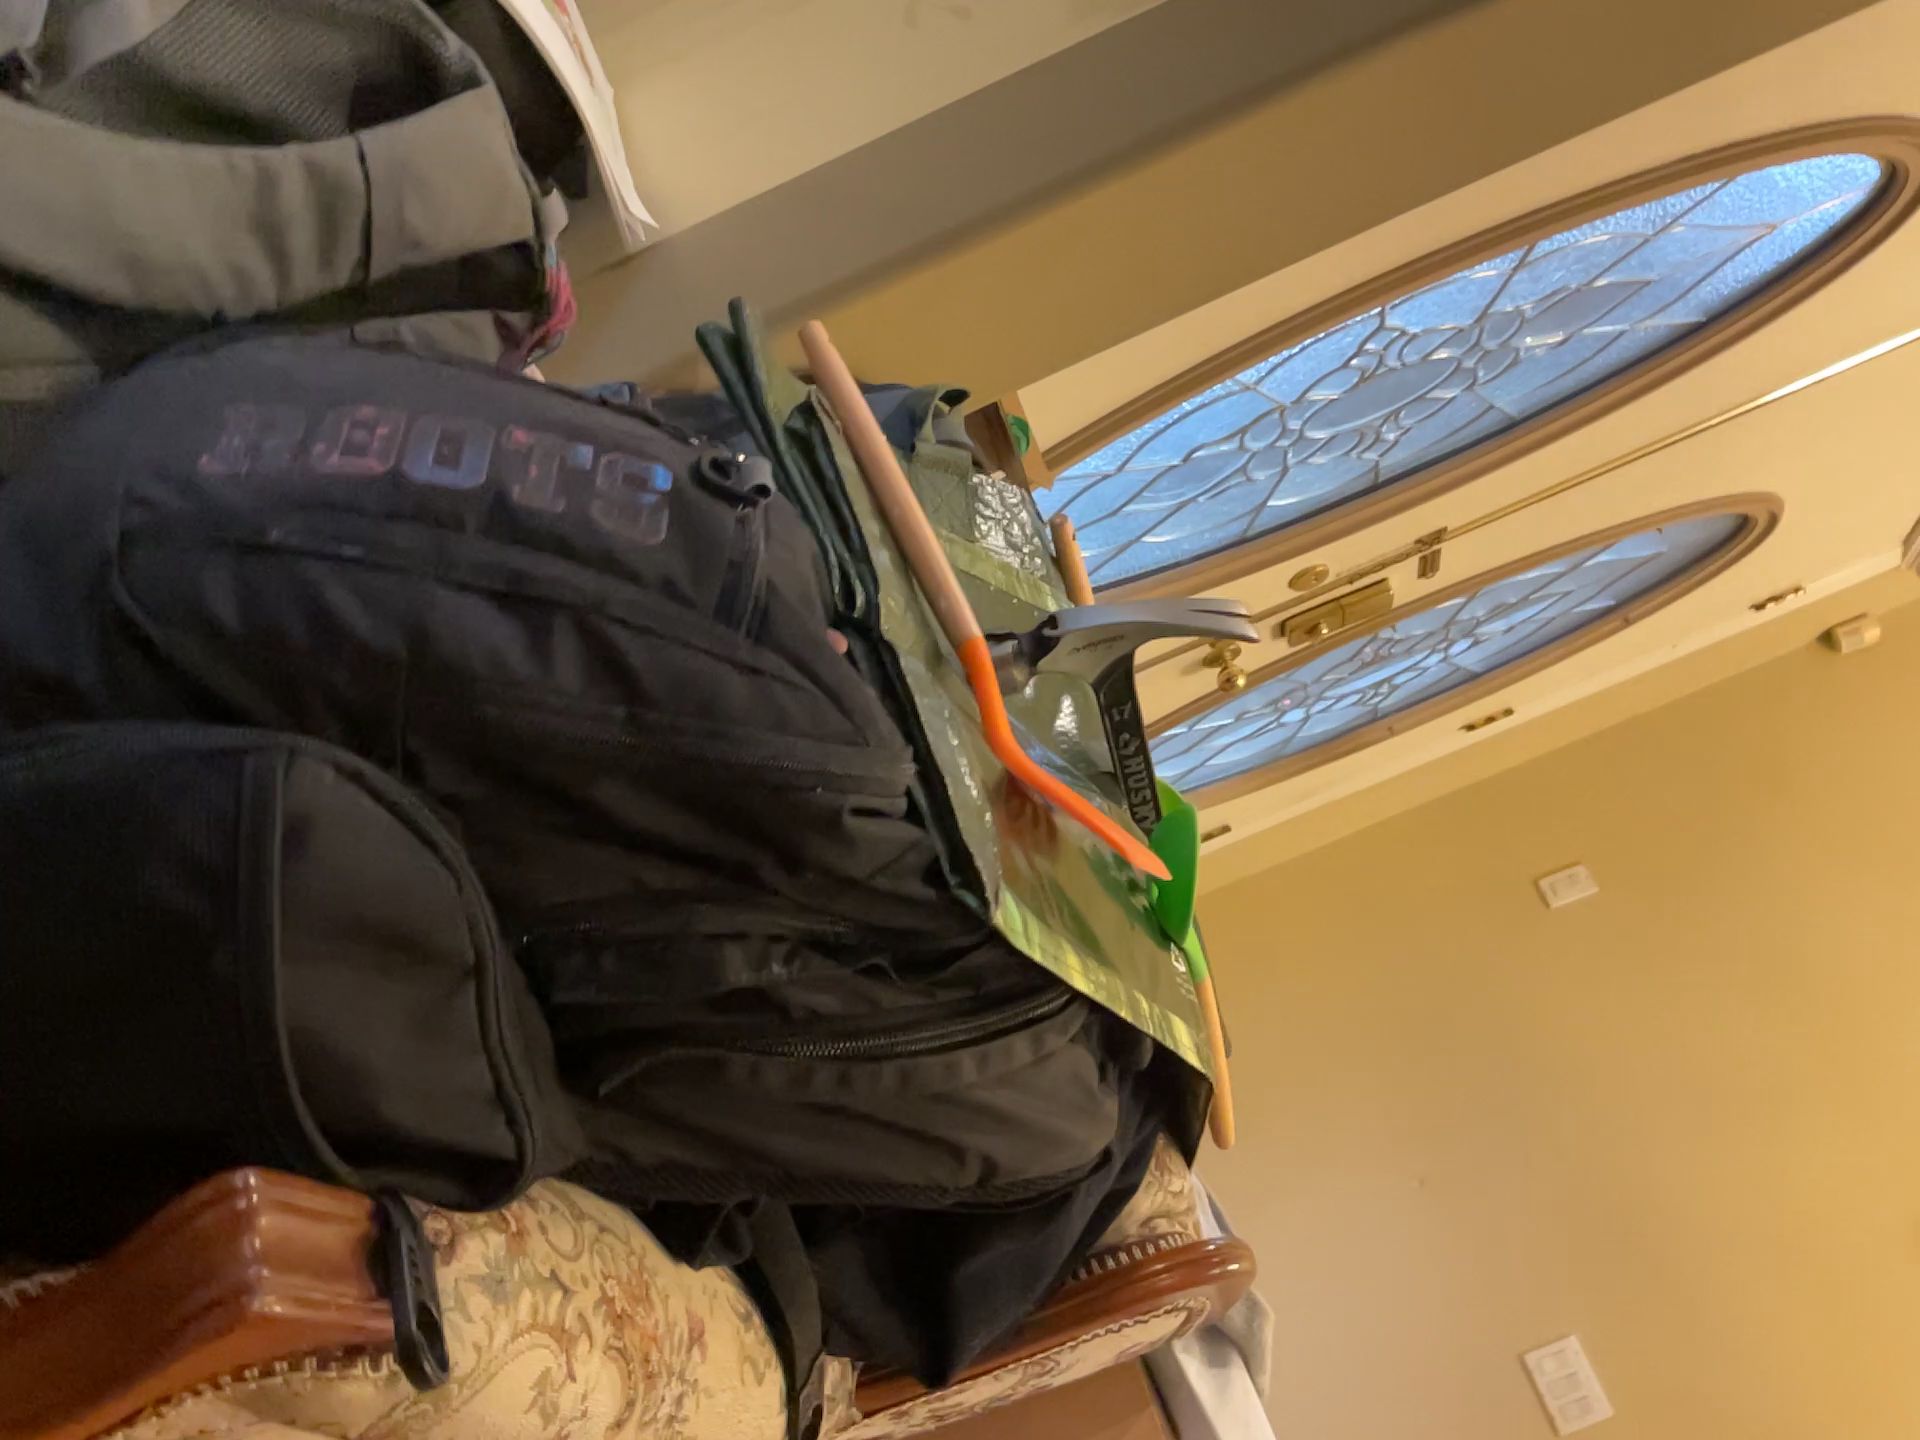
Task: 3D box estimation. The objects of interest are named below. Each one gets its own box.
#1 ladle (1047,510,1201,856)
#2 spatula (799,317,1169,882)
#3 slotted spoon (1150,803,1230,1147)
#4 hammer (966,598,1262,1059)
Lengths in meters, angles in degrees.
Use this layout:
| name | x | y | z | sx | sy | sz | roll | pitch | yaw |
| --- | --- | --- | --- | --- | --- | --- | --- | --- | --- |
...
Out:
| name | x | y | z | sx | sy | sz | roll | pitch | yaw |
| --- | --- | --- | --- | --- | --- | --- | --- | --- | --- |
| ladle | 0.107 | -0.010 | 1.048 | 0.319 | 0.062 | 0.078 | 71 | 25 | -42 |
| spatula | 0.001 | -0.061 | 0.729 | 0.323 | 0.041 | 0.081 | 64 | 11 | 17 |
| slotted spoon | 0.135 | 0.161 | 0.901 | 0.313 | 0.031 | 0.070 | 75 | 12 | -45 |
| hammer | 0.119 | 0.085 | 0.930 | 0.036 | 0.149 | 0.408 | -97 | 171 | -46 |
